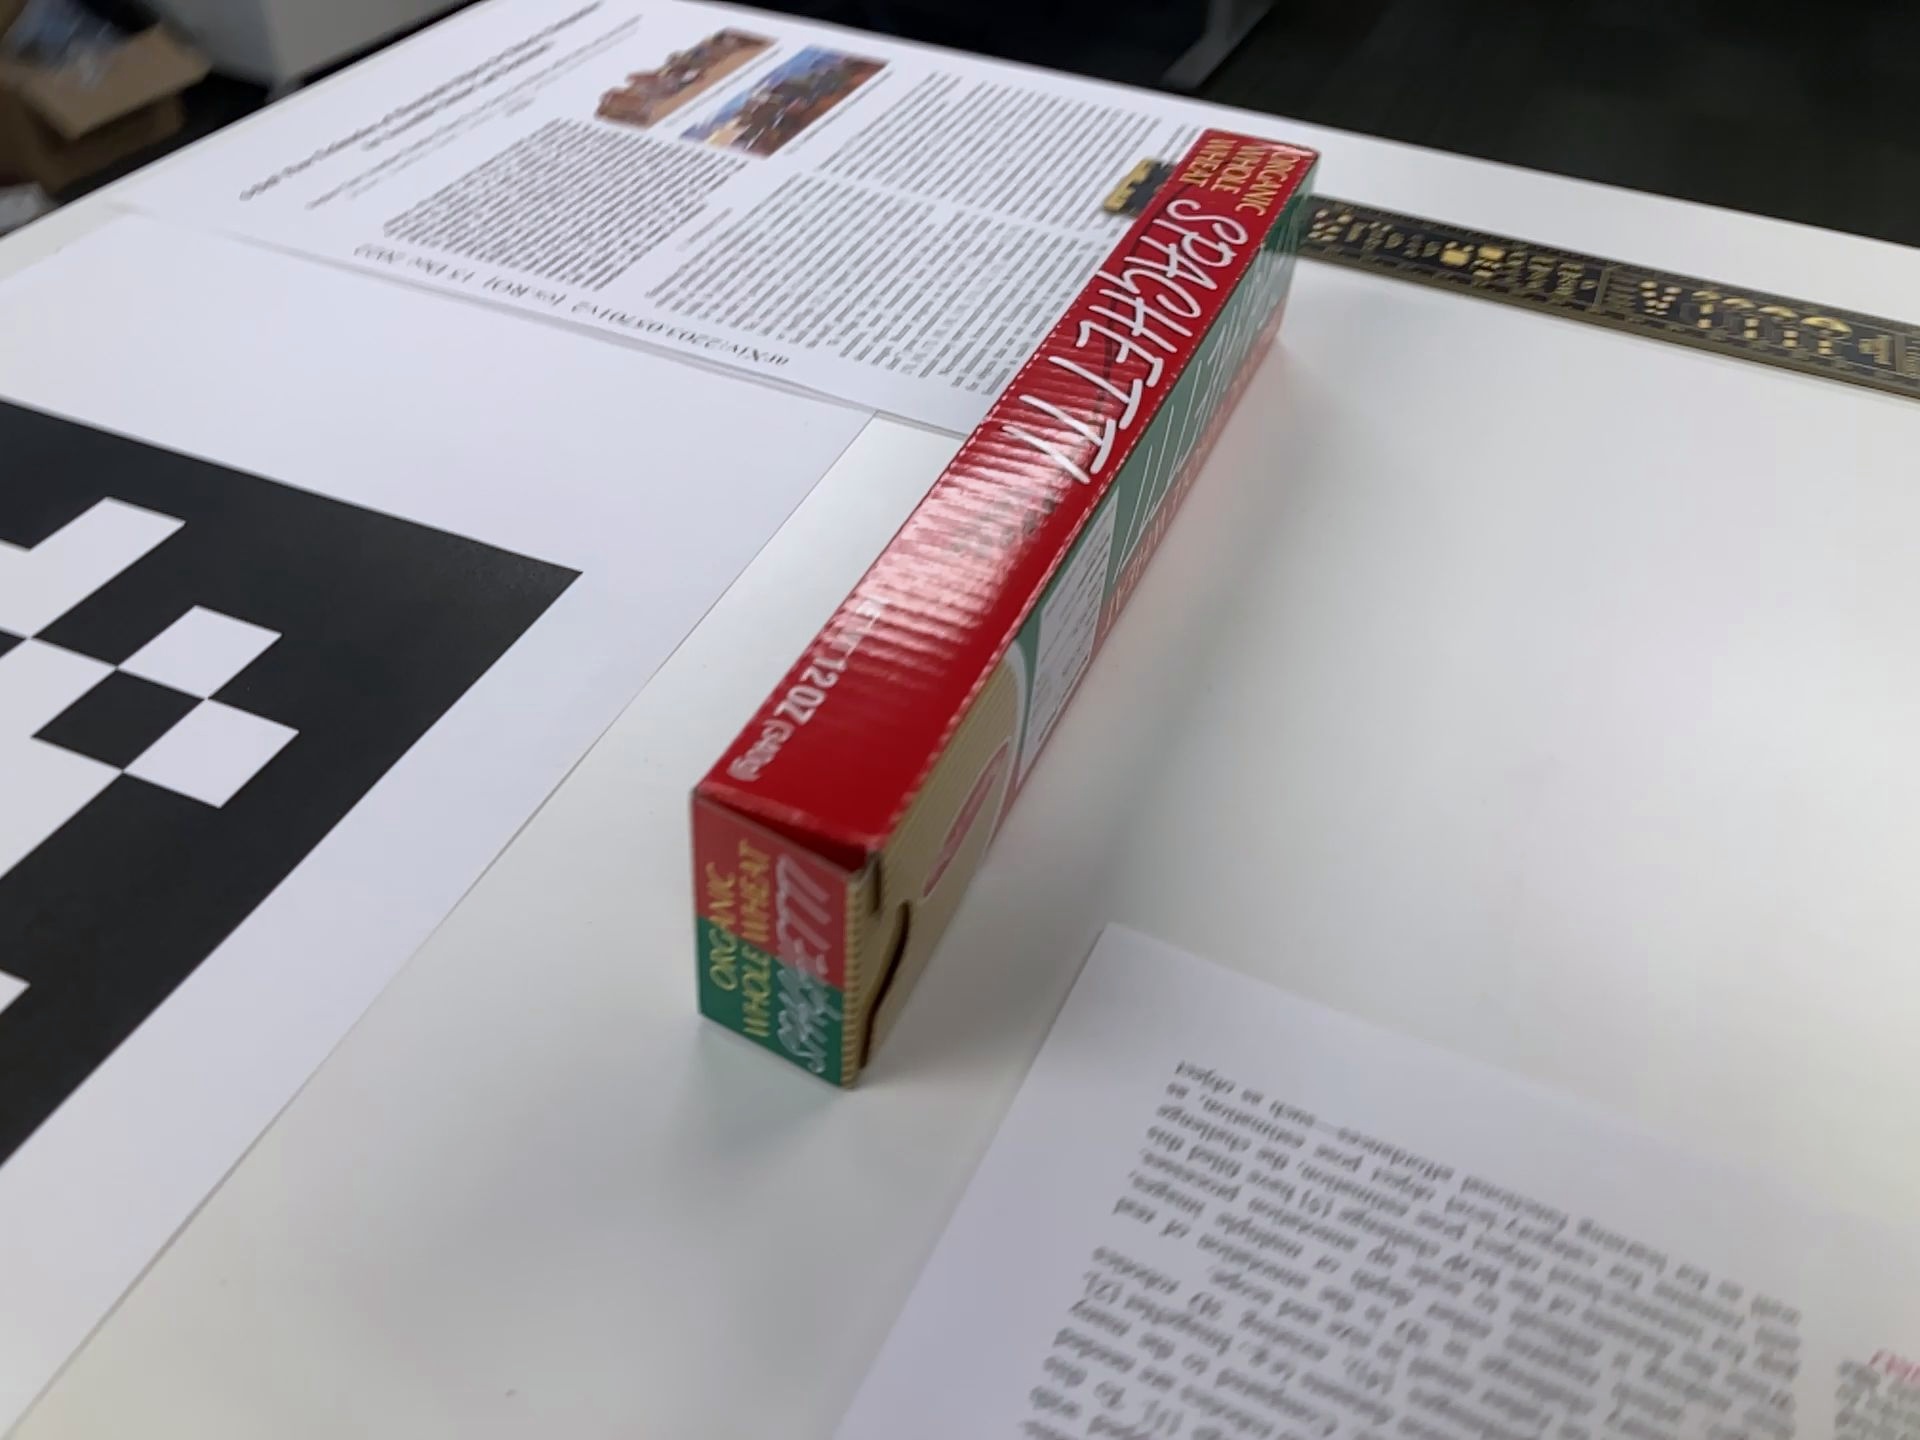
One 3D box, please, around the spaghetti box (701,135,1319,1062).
[{"bbox_3d":[0.023,-0.045,0.307,0.028,0.050,0.250,19,44,13],"label":"spaghetti box"}]
